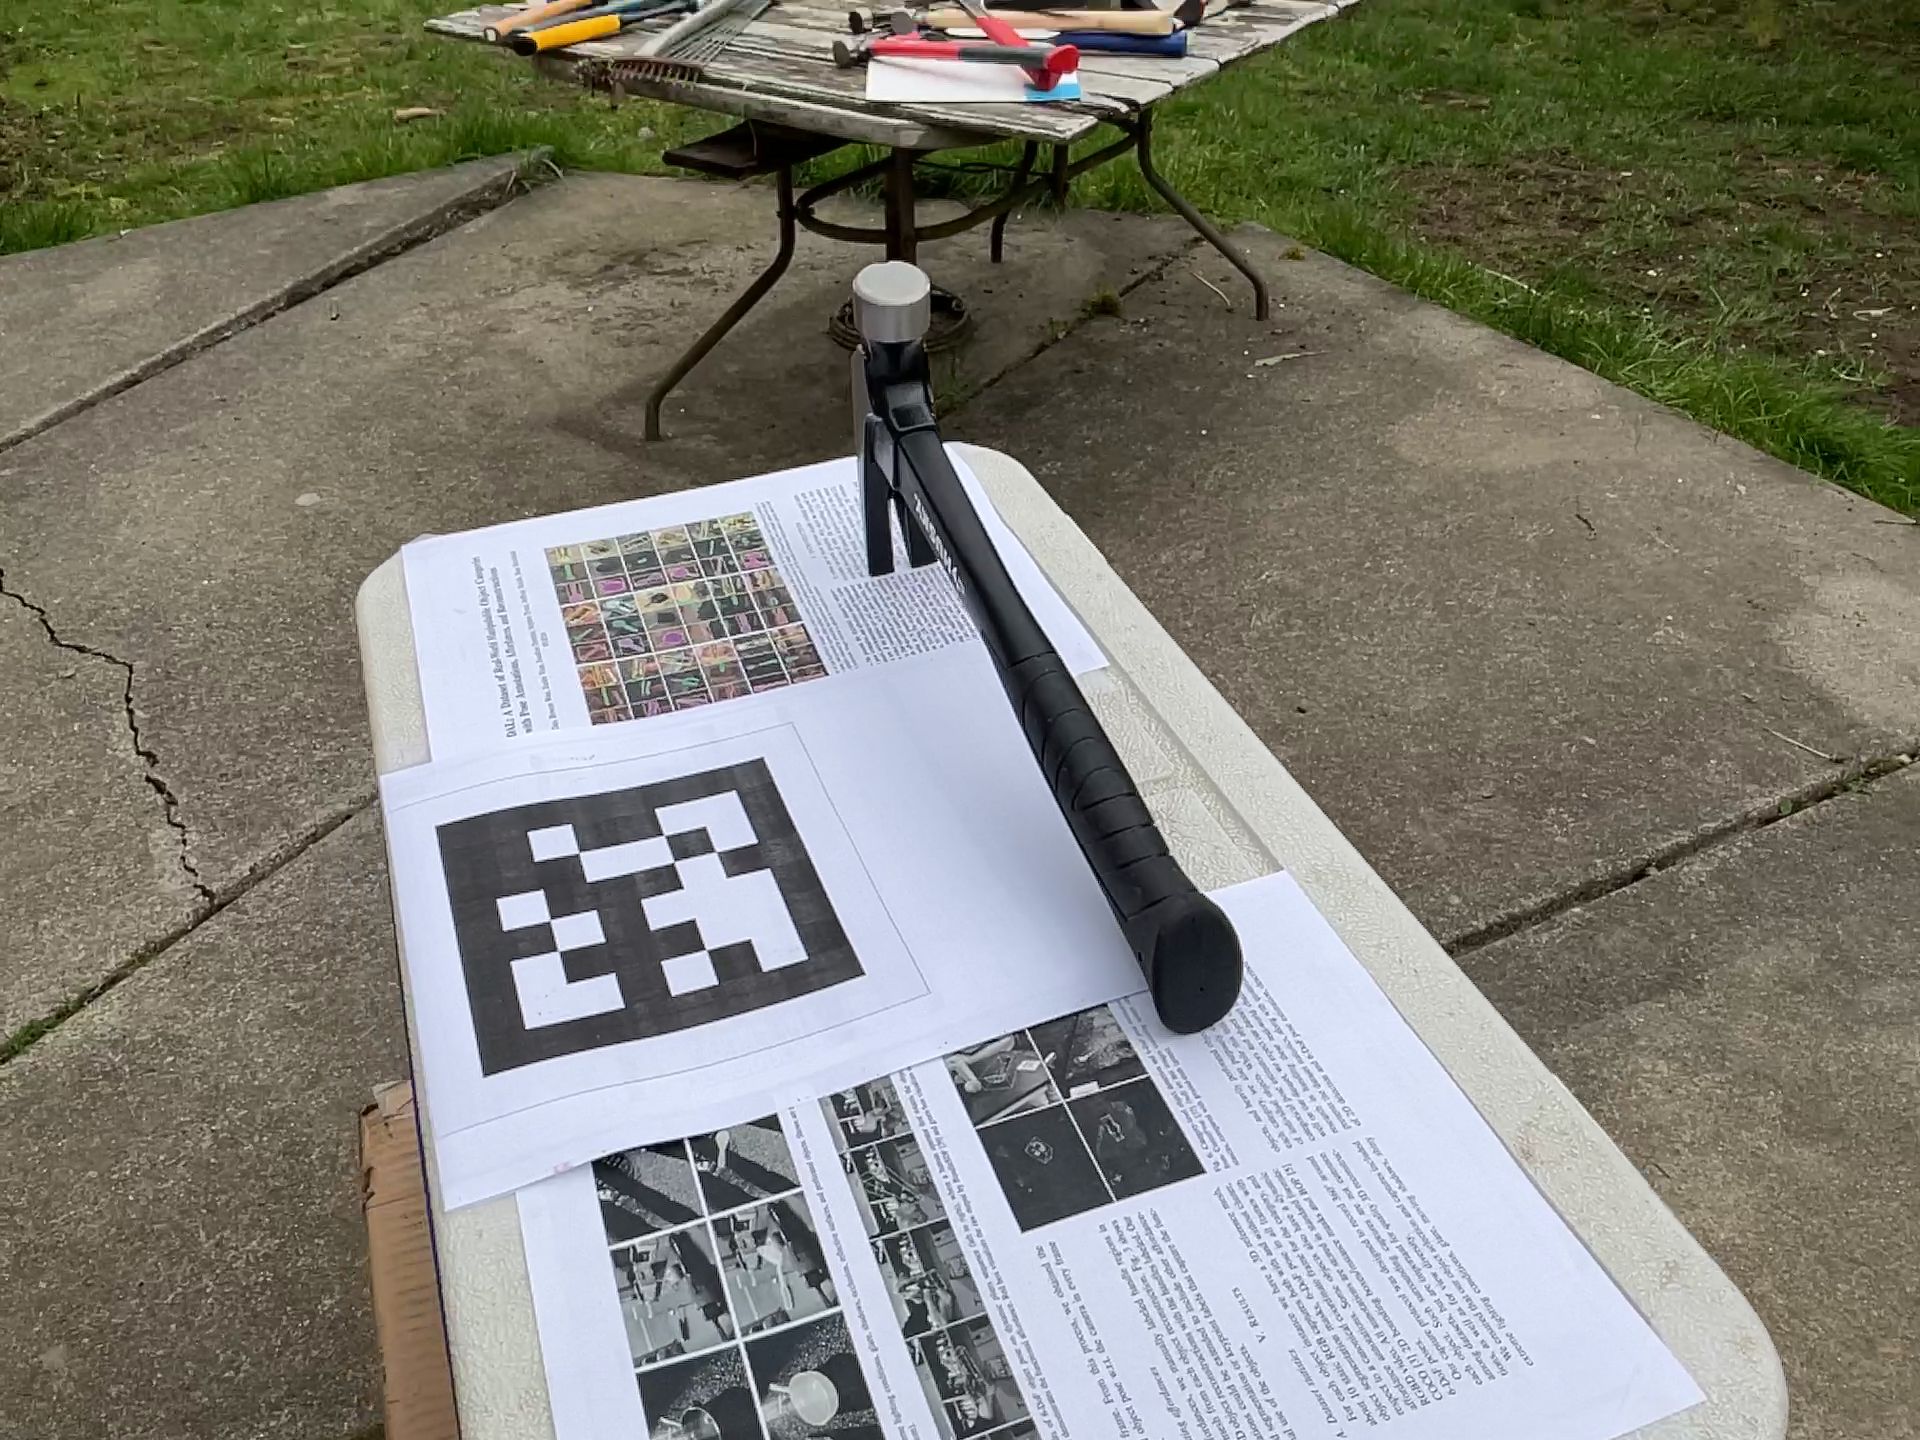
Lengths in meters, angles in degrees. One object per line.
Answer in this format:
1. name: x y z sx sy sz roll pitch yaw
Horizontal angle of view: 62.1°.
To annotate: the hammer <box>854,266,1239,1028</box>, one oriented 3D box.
1. hammer: 0.021 -0.026 0.620 0.035 0.146 0.335 -14 50 -14
